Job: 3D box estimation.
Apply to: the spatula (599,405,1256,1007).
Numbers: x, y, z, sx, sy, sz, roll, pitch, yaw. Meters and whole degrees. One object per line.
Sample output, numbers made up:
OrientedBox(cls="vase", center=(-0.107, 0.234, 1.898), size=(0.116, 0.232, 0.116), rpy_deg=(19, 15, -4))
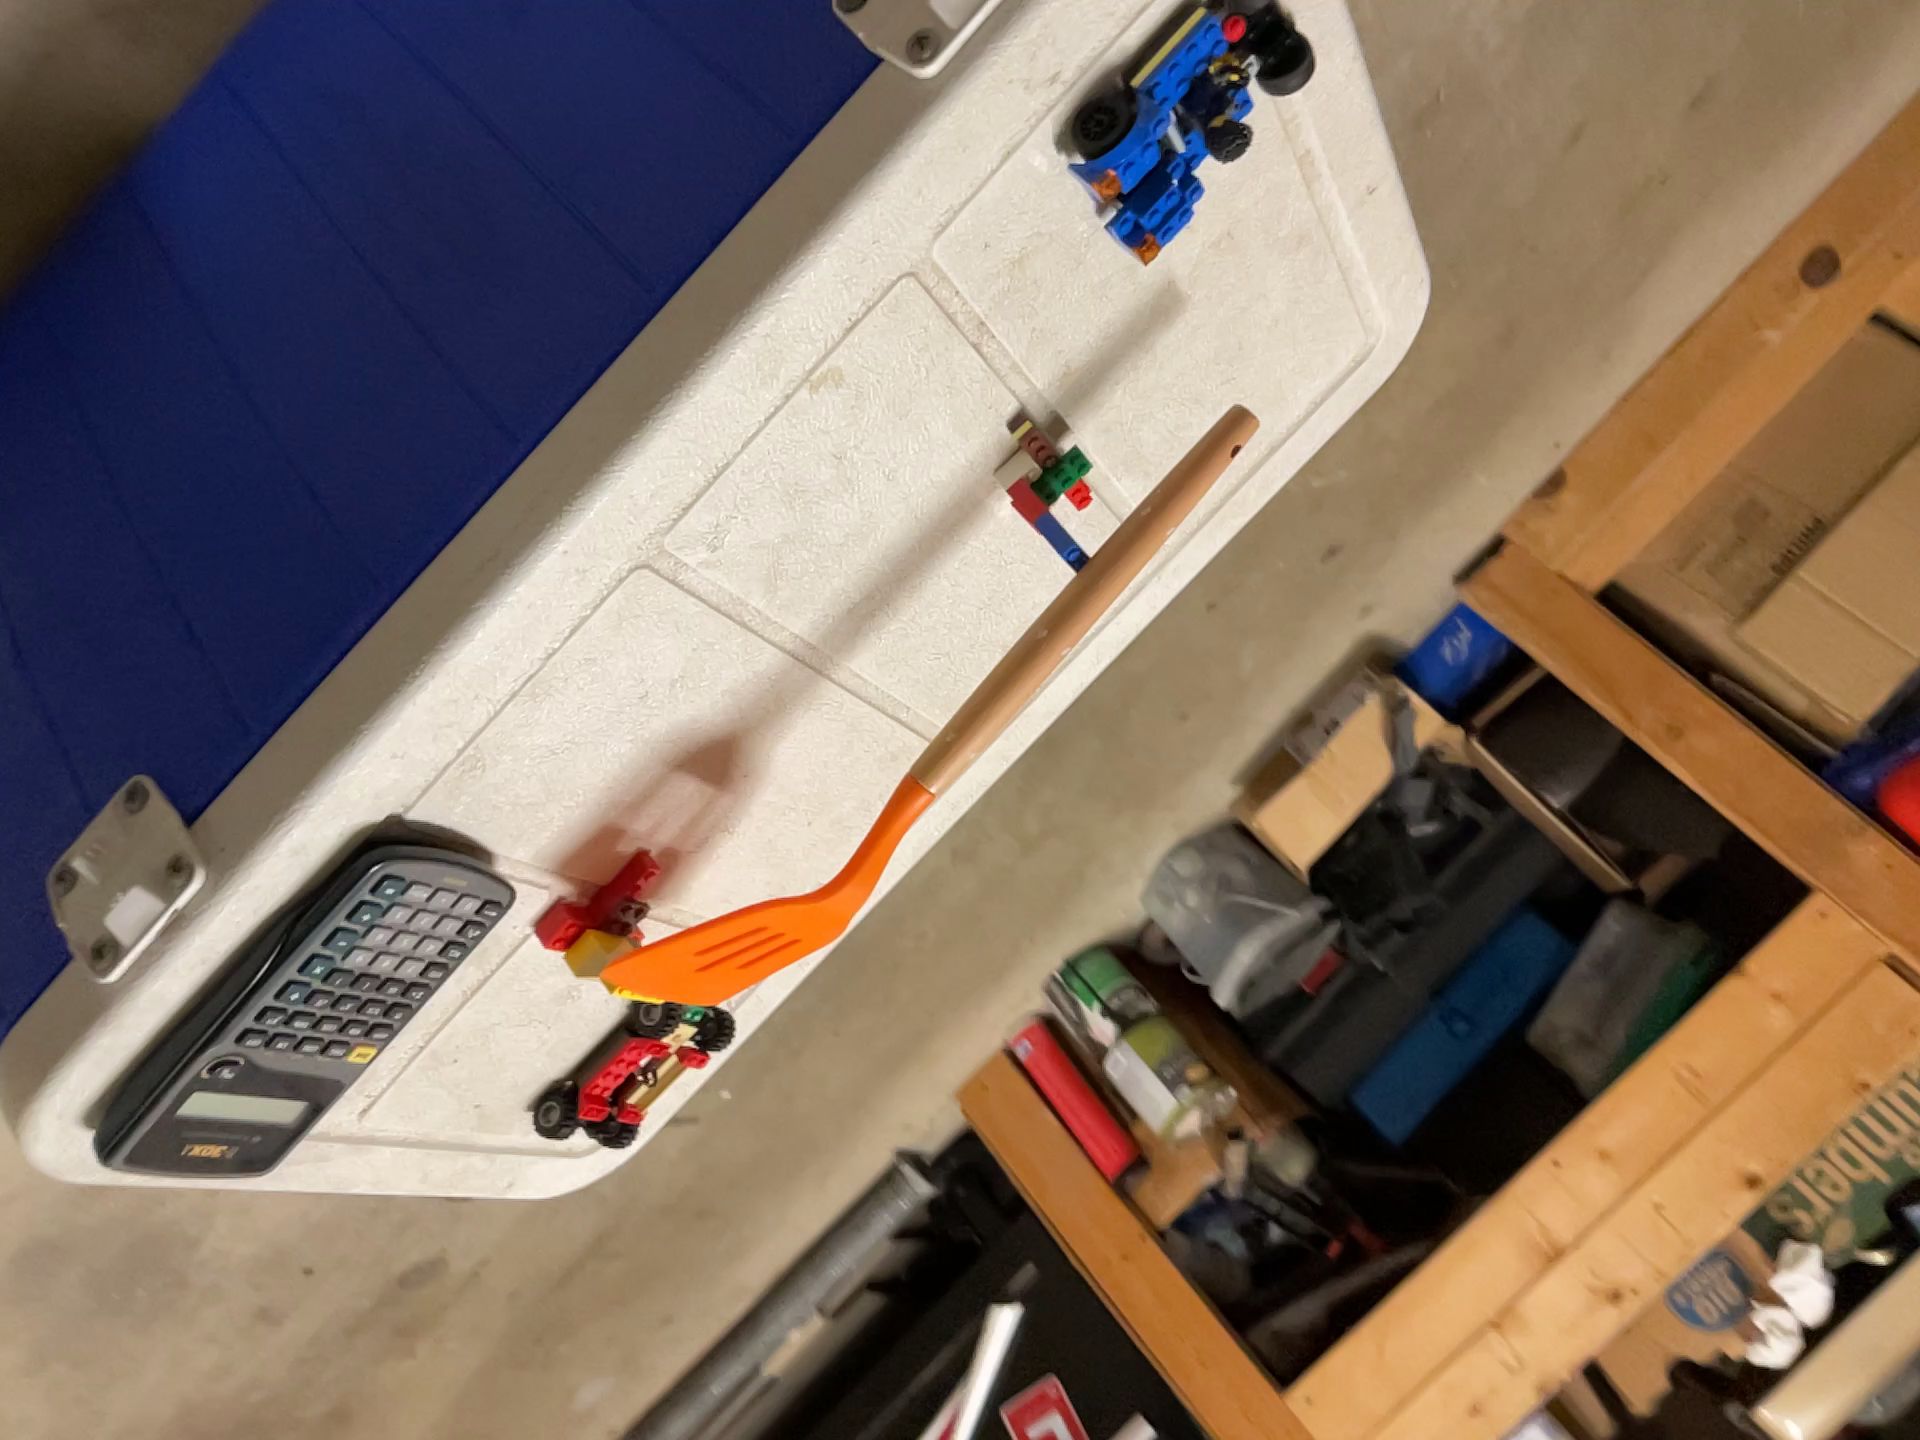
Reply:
OrientedBox(cls="spatula", center=(-0.005, 0.000, 0.613), size=(0.322, 0.041, 0.081), rpy_deg=(-48, 150, 3))
